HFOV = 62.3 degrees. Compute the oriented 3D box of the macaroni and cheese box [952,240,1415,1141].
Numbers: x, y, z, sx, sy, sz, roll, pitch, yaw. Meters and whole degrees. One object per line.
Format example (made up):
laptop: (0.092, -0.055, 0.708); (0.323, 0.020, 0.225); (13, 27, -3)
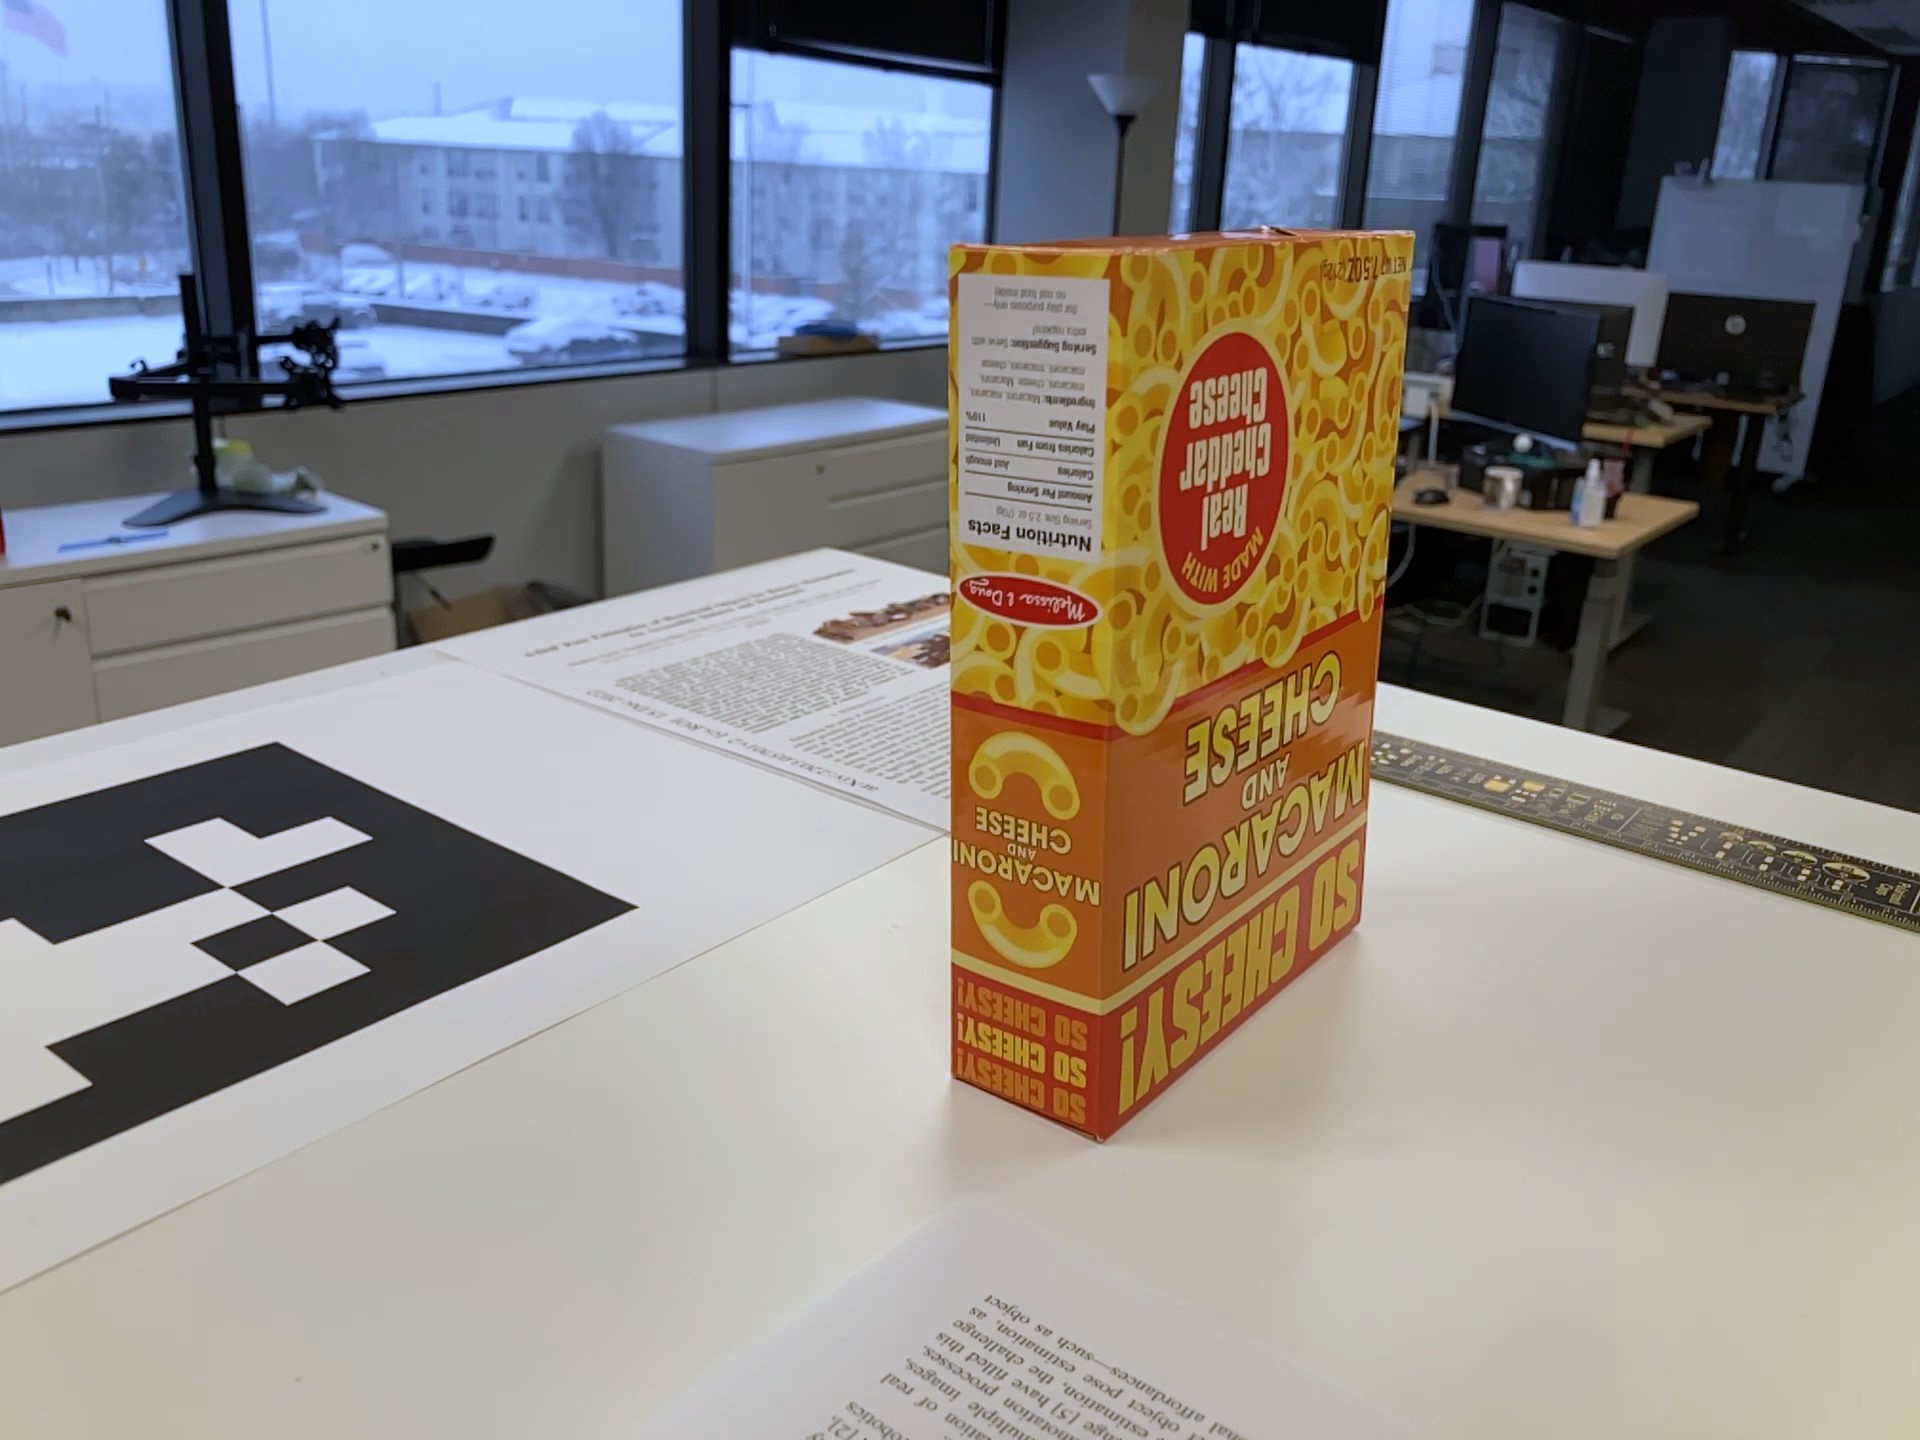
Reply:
macaroni and cheese box: (0.050, -0.015, 0.340); (0.040, 0.166, 0.124); (13, 22, 36)
